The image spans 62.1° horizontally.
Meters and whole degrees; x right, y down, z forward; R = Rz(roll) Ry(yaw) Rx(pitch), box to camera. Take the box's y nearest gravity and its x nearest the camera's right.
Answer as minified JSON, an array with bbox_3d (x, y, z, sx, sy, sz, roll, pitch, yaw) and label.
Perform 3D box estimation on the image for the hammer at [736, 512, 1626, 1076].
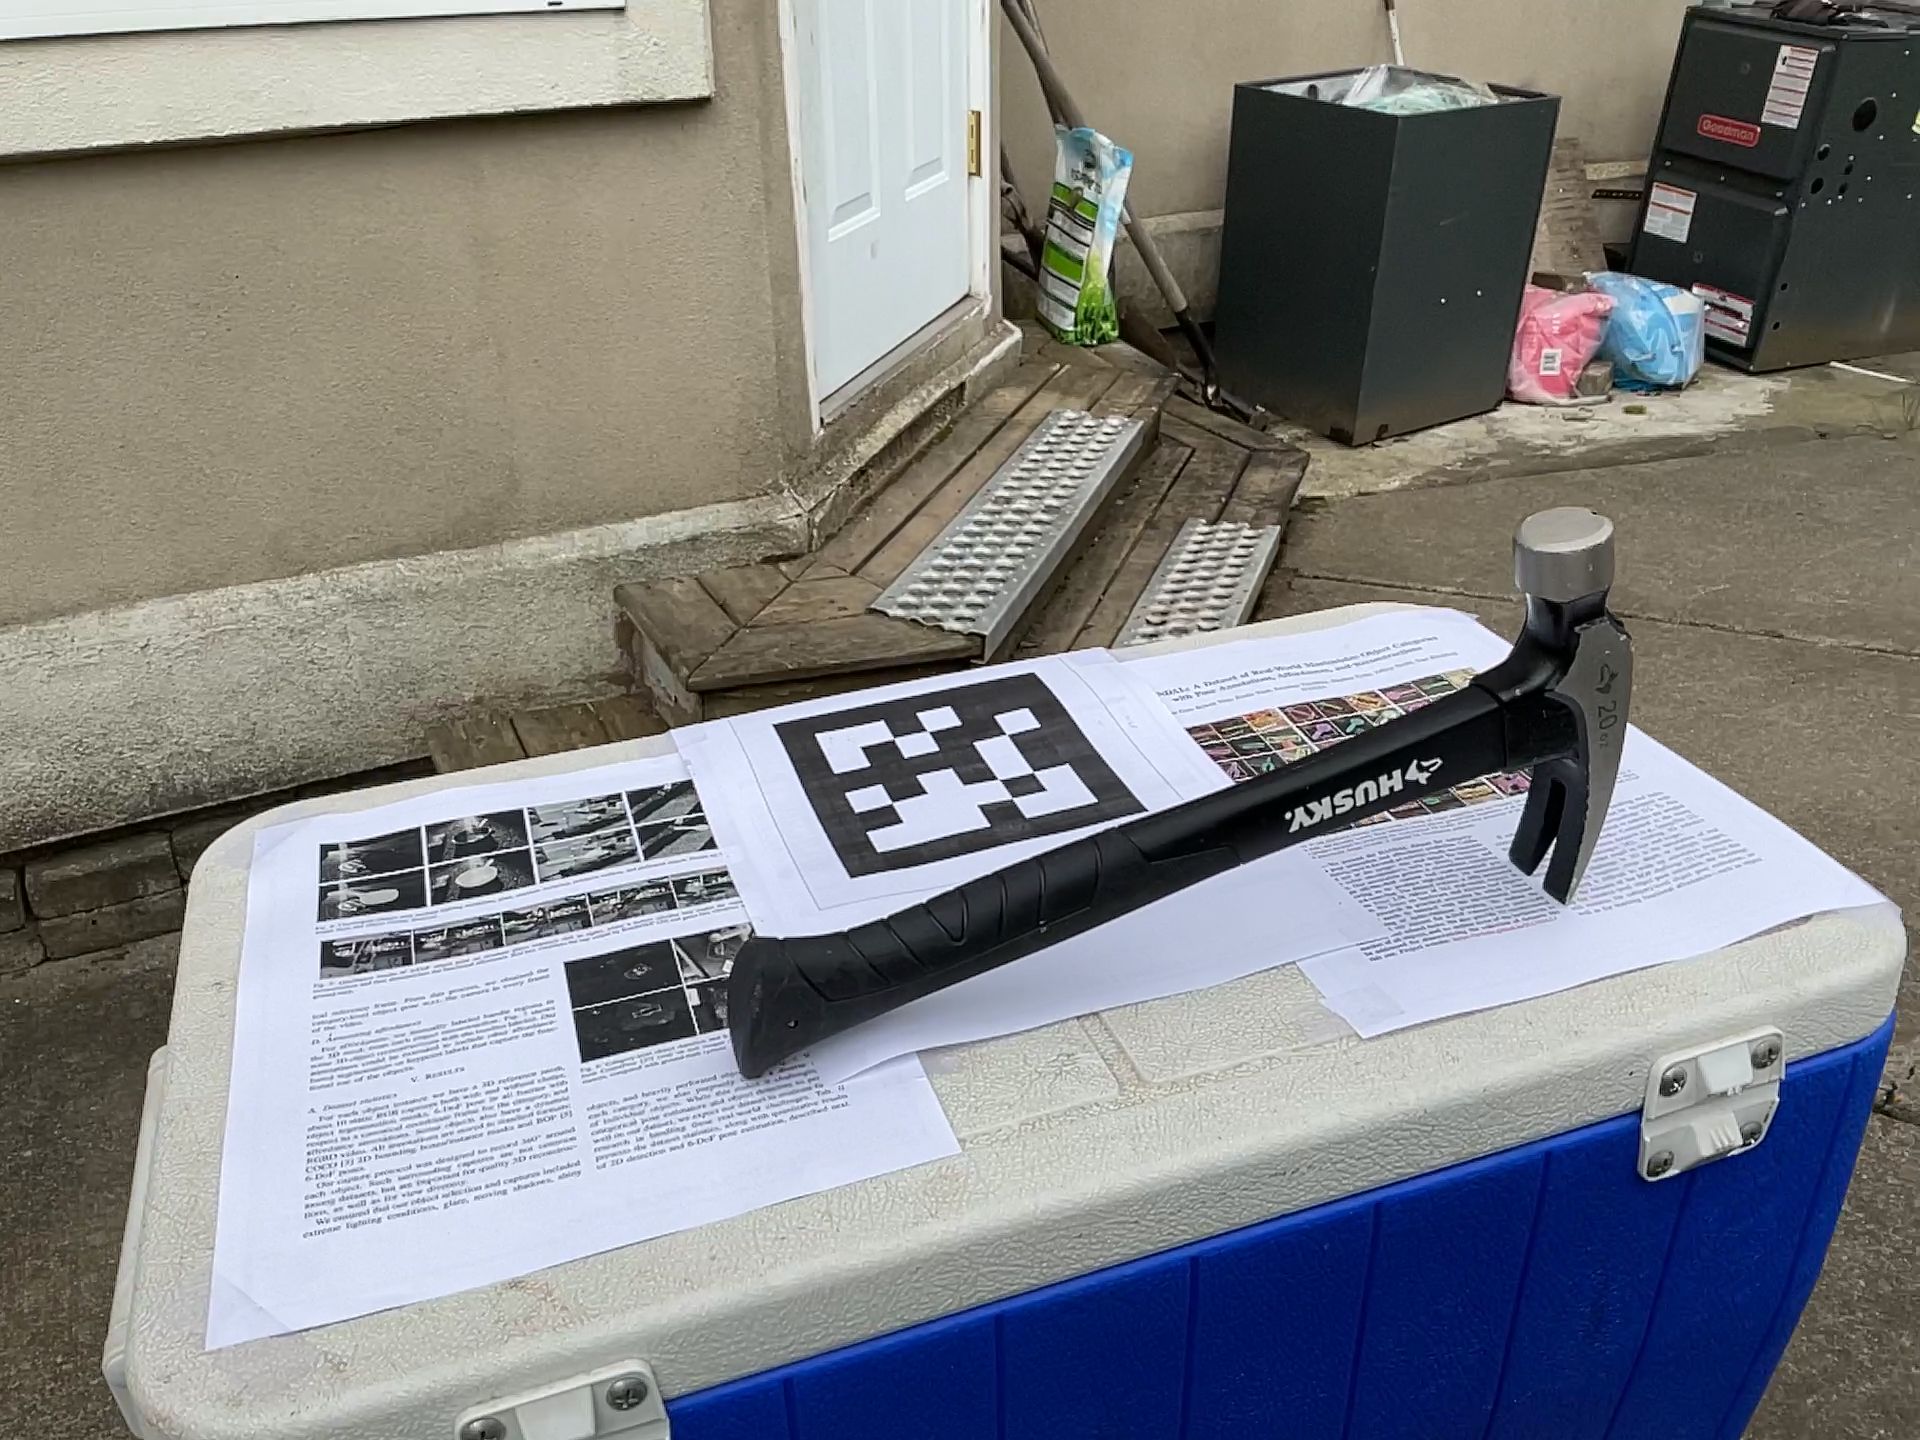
[{"bbox_3d":[0.081,0.048,0.557,0.334,0.146,0.035,-21,30,-9],"label":"hammer"}]
